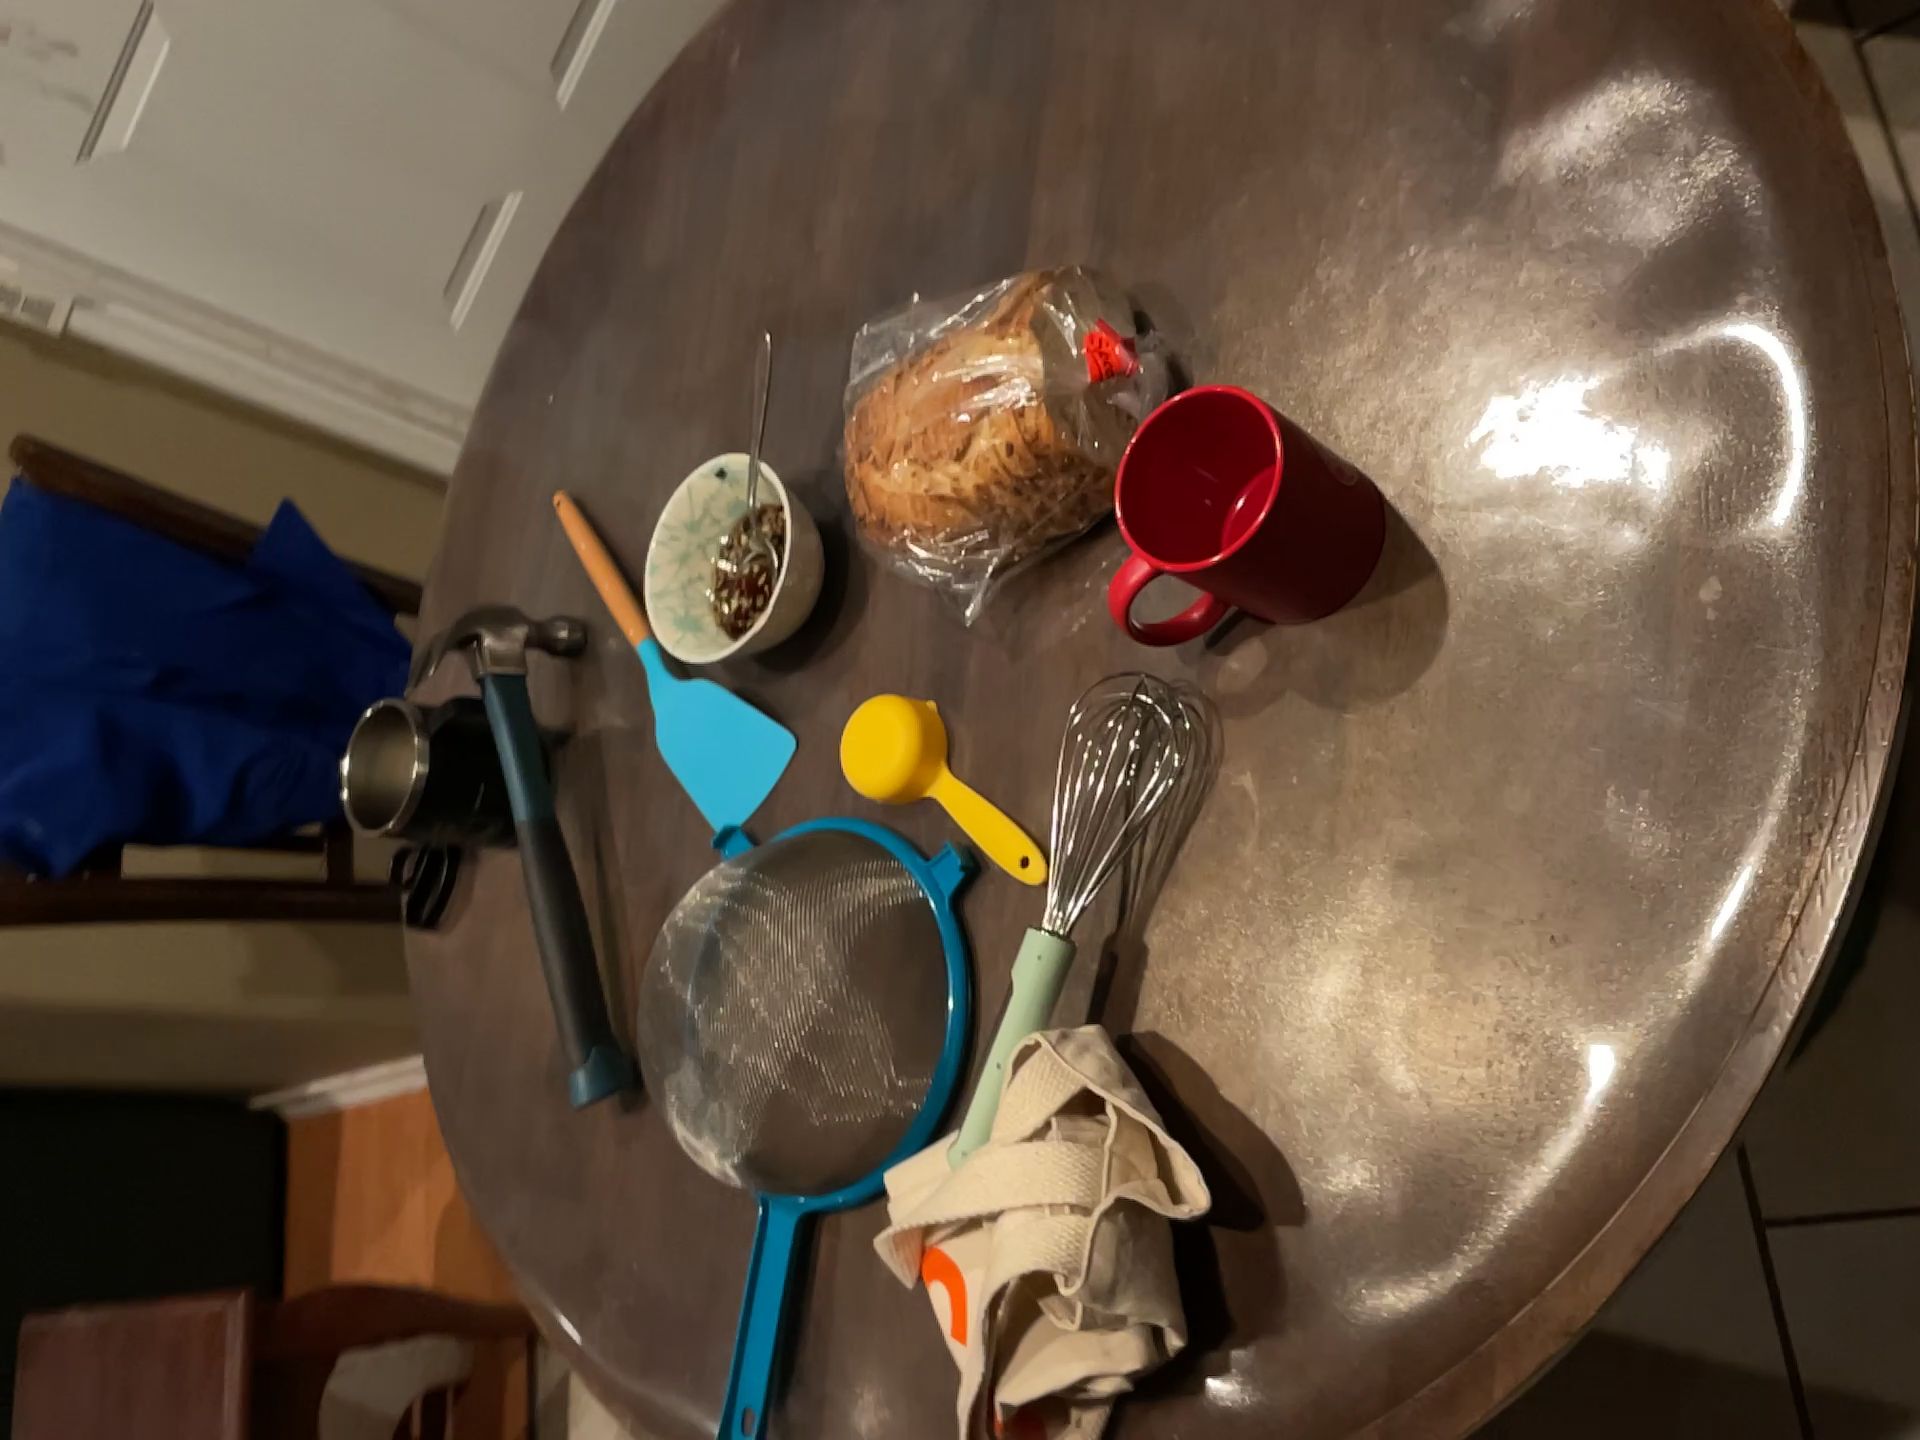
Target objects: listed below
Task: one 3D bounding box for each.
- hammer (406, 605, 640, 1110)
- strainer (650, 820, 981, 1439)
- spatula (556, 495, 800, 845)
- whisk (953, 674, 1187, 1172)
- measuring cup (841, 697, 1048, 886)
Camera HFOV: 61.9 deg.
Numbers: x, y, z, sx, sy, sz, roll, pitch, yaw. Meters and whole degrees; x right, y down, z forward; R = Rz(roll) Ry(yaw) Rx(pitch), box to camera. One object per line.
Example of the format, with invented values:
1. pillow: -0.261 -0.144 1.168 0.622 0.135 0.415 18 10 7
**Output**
1. hammer: -0.259 0.078 1.004 0.033 0.128 0.331 -31 69 34
2. strainer: -0.111 0.211 0.837 0.211 0.095 0.340 0 75 41
3. spatula: -0.200 -0.054 1.030 0.082 0.044 0.318 -53 47 18
4. whisk: 0.046 0.094 0.743 0.059 0.057 0.246 19 82 11
5. measuring cup: -0.011 0.039 0.836 0.157 0.029 0.062 40 105 41
